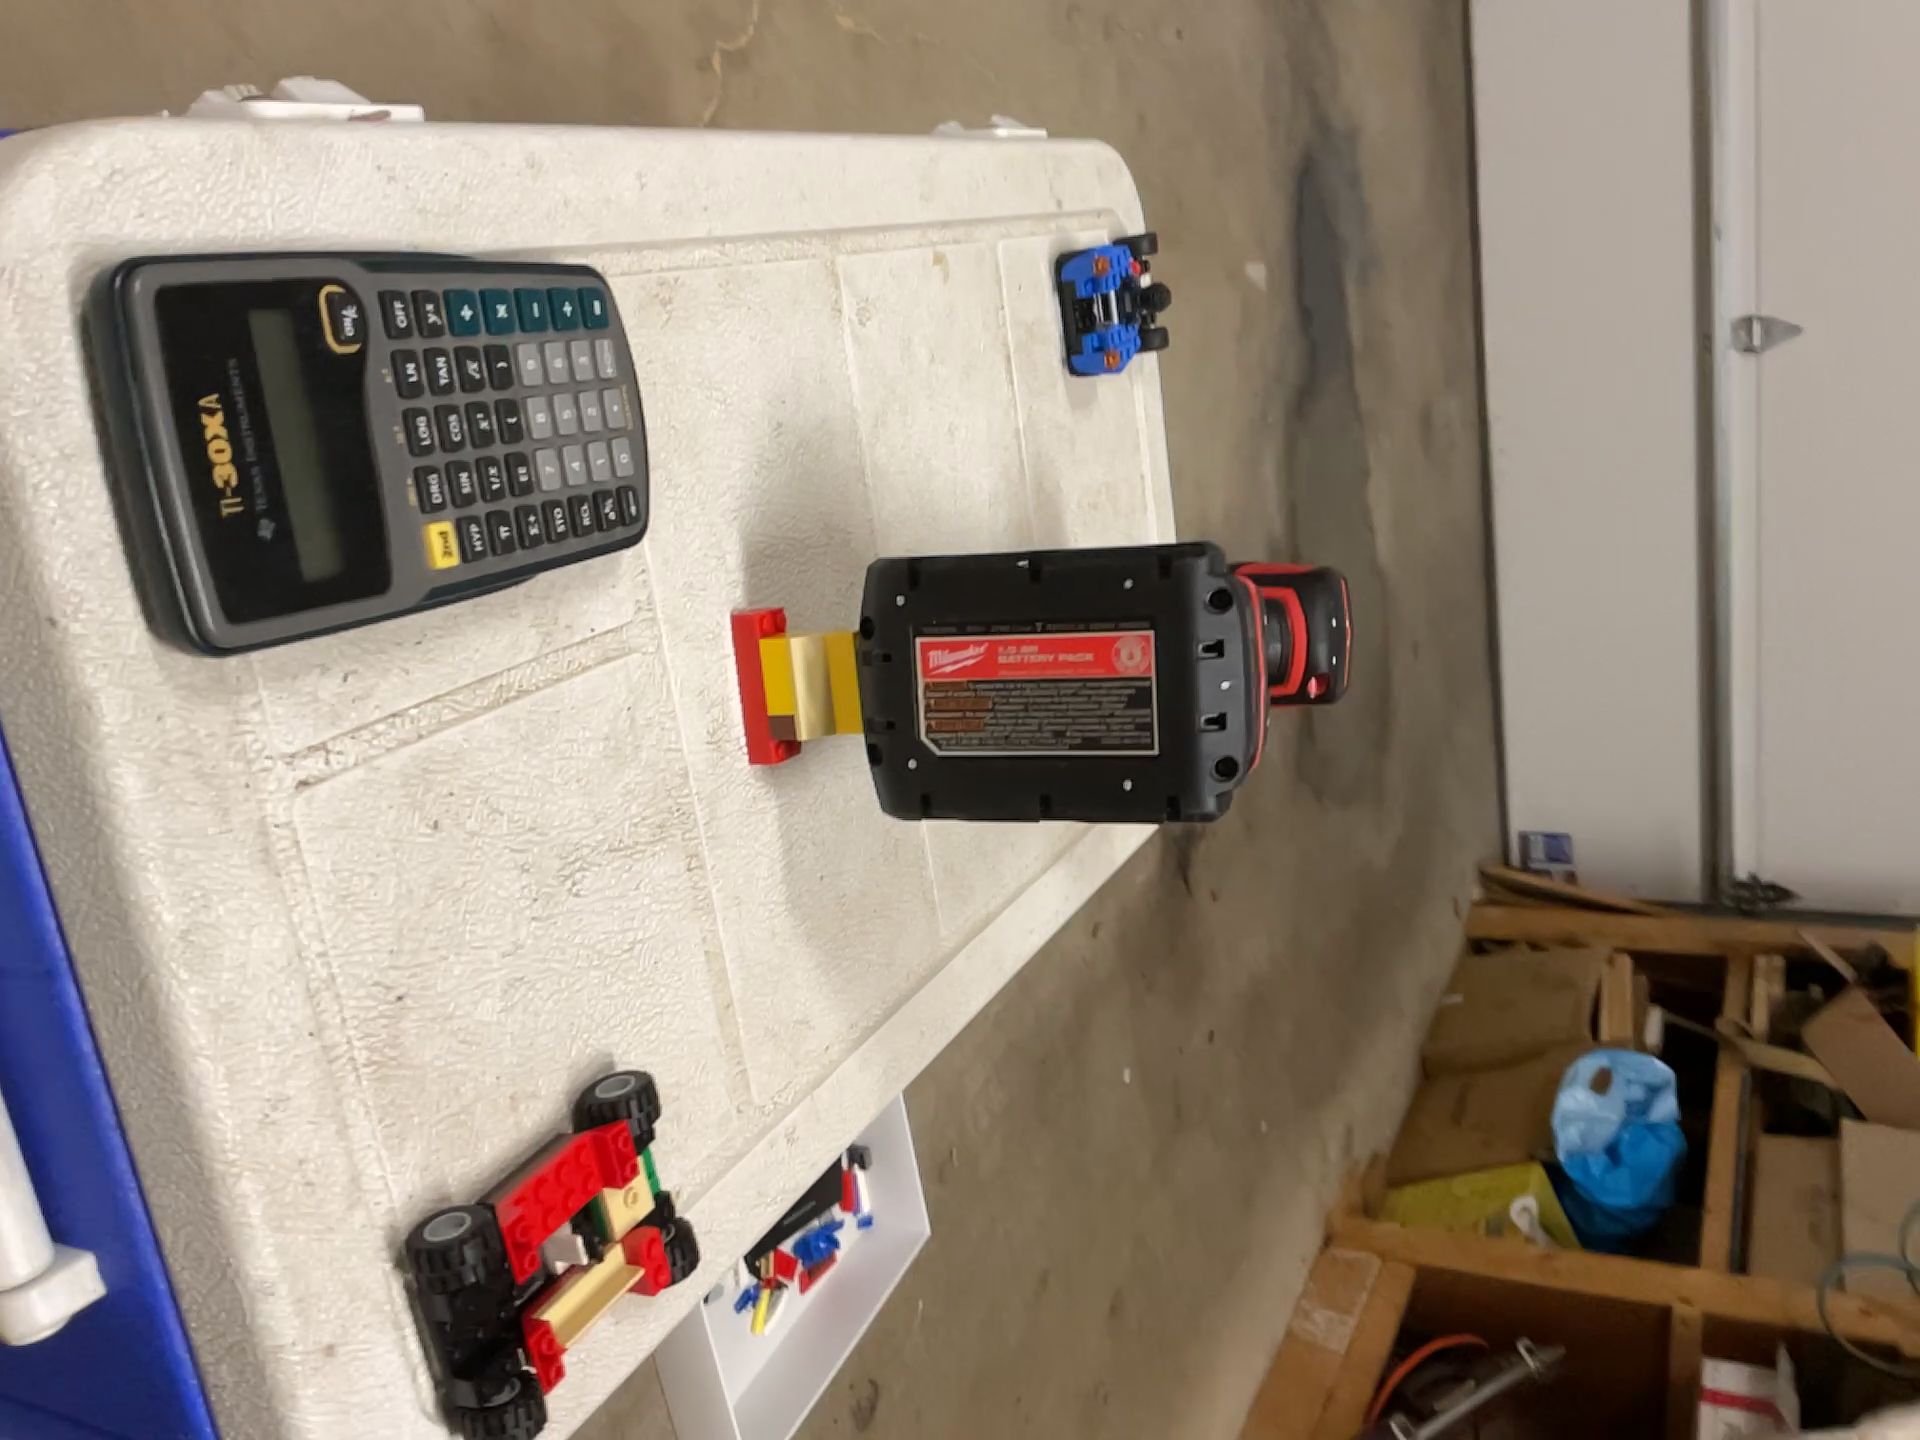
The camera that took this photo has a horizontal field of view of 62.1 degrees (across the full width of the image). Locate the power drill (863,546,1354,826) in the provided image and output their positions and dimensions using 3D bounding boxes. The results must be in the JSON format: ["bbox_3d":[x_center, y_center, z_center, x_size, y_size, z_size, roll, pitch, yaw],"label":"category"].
[{"bbox_3d":[0.054,-0.022,0.559,0.220,0.143,0.078,-20,109,-68],"label":"power drill"}]
